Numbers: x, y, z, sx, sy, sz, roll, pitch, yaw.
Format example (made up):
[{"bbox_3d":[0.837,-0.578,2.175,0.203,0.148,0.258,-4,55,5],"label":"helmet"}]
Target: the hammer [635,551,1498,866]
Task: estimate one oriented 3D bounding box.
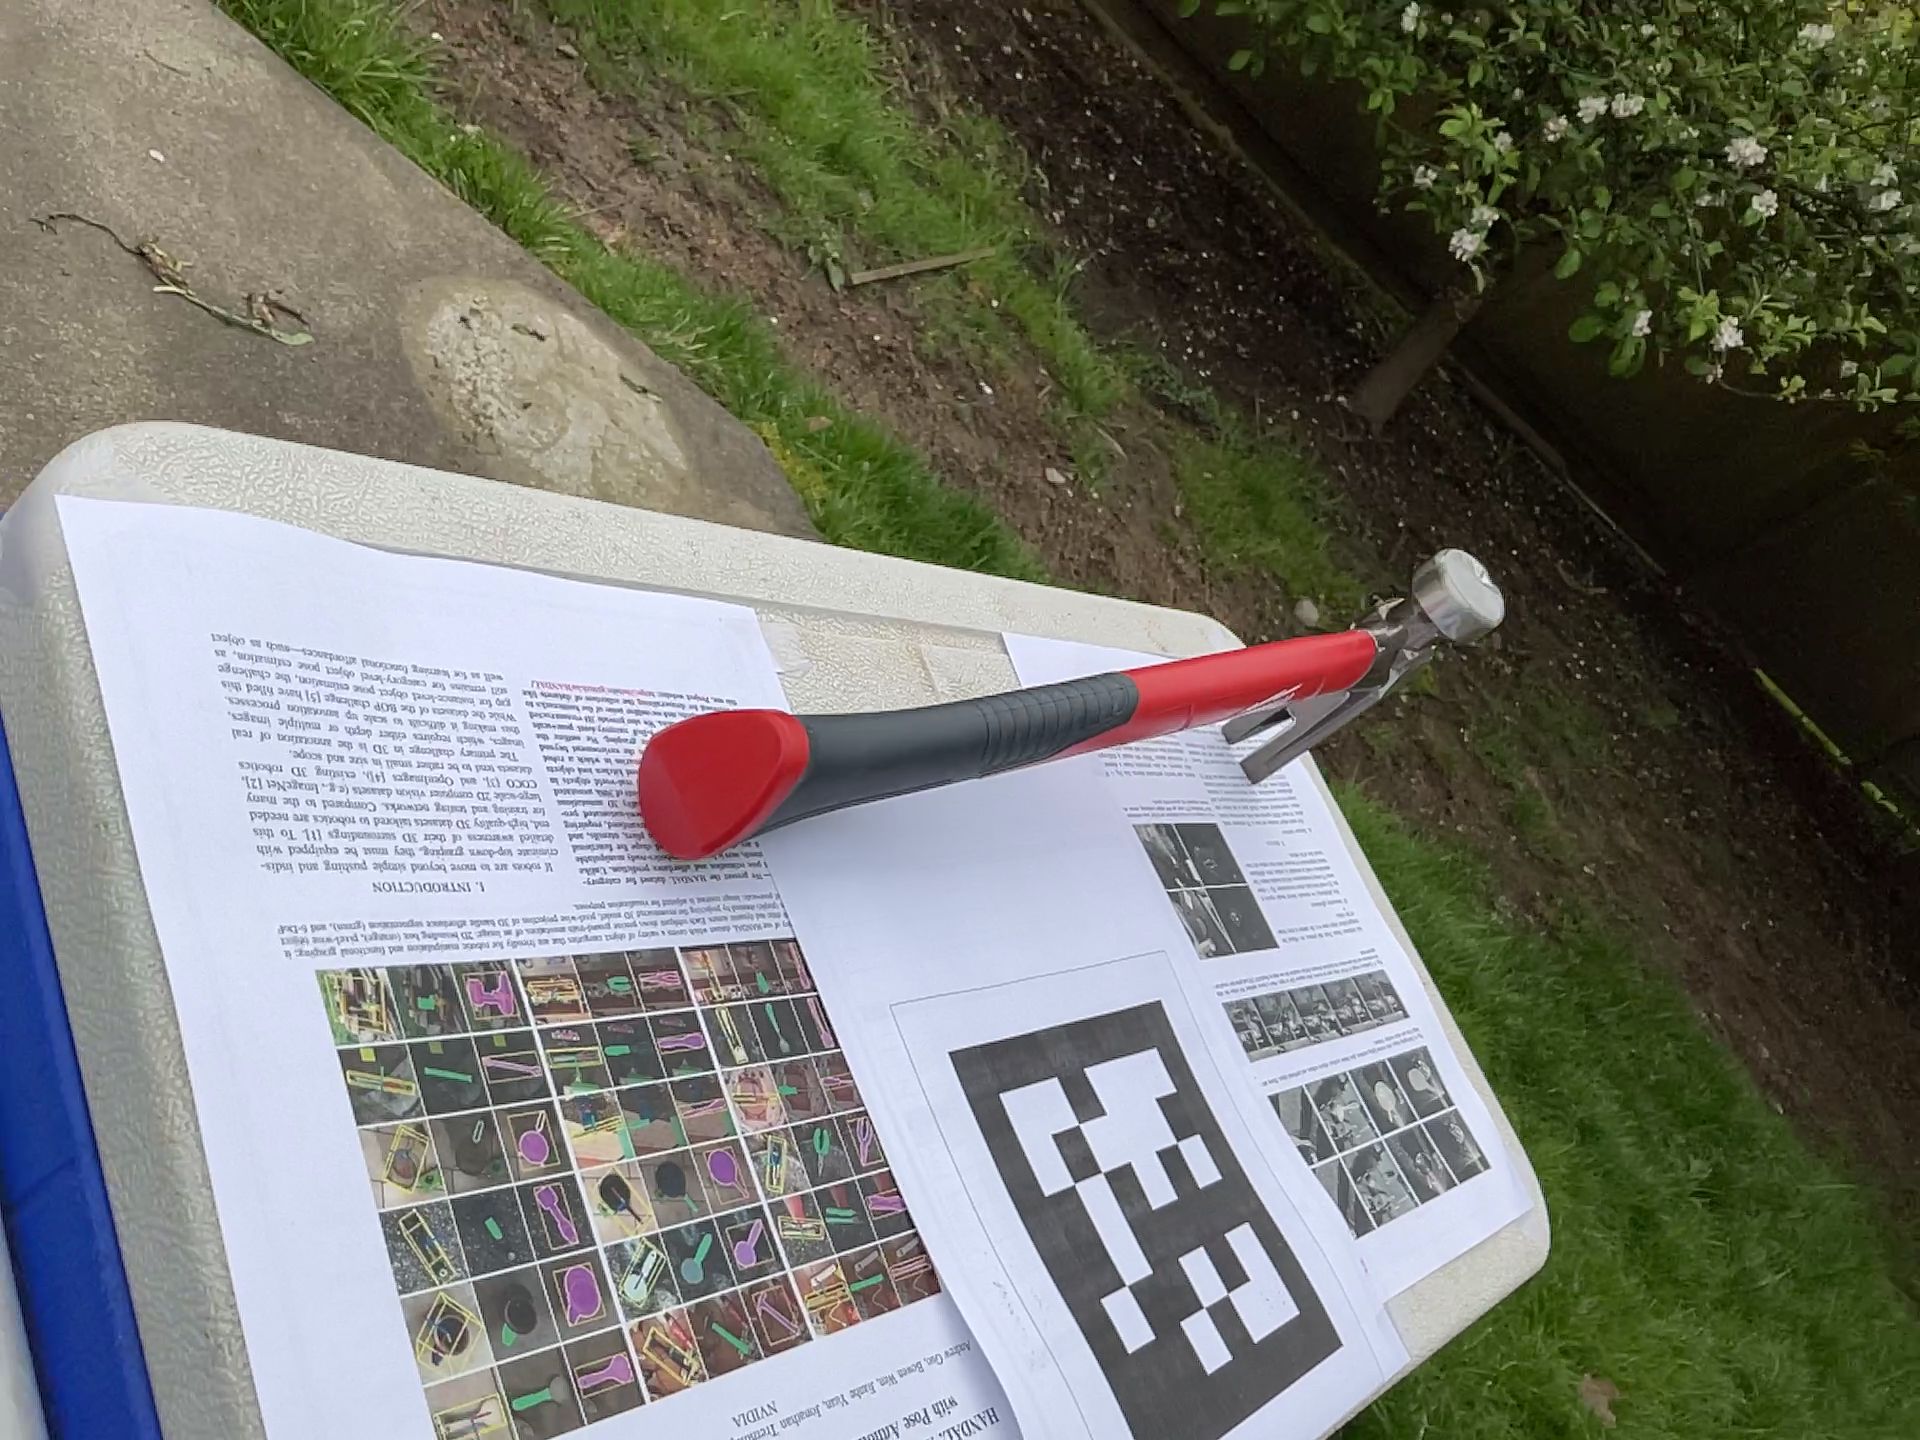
[{"bbox_3d":[0.046,0.005,0.565,0.386,0.143,0.038,-11,67,-46],"label":"hammer"}]
